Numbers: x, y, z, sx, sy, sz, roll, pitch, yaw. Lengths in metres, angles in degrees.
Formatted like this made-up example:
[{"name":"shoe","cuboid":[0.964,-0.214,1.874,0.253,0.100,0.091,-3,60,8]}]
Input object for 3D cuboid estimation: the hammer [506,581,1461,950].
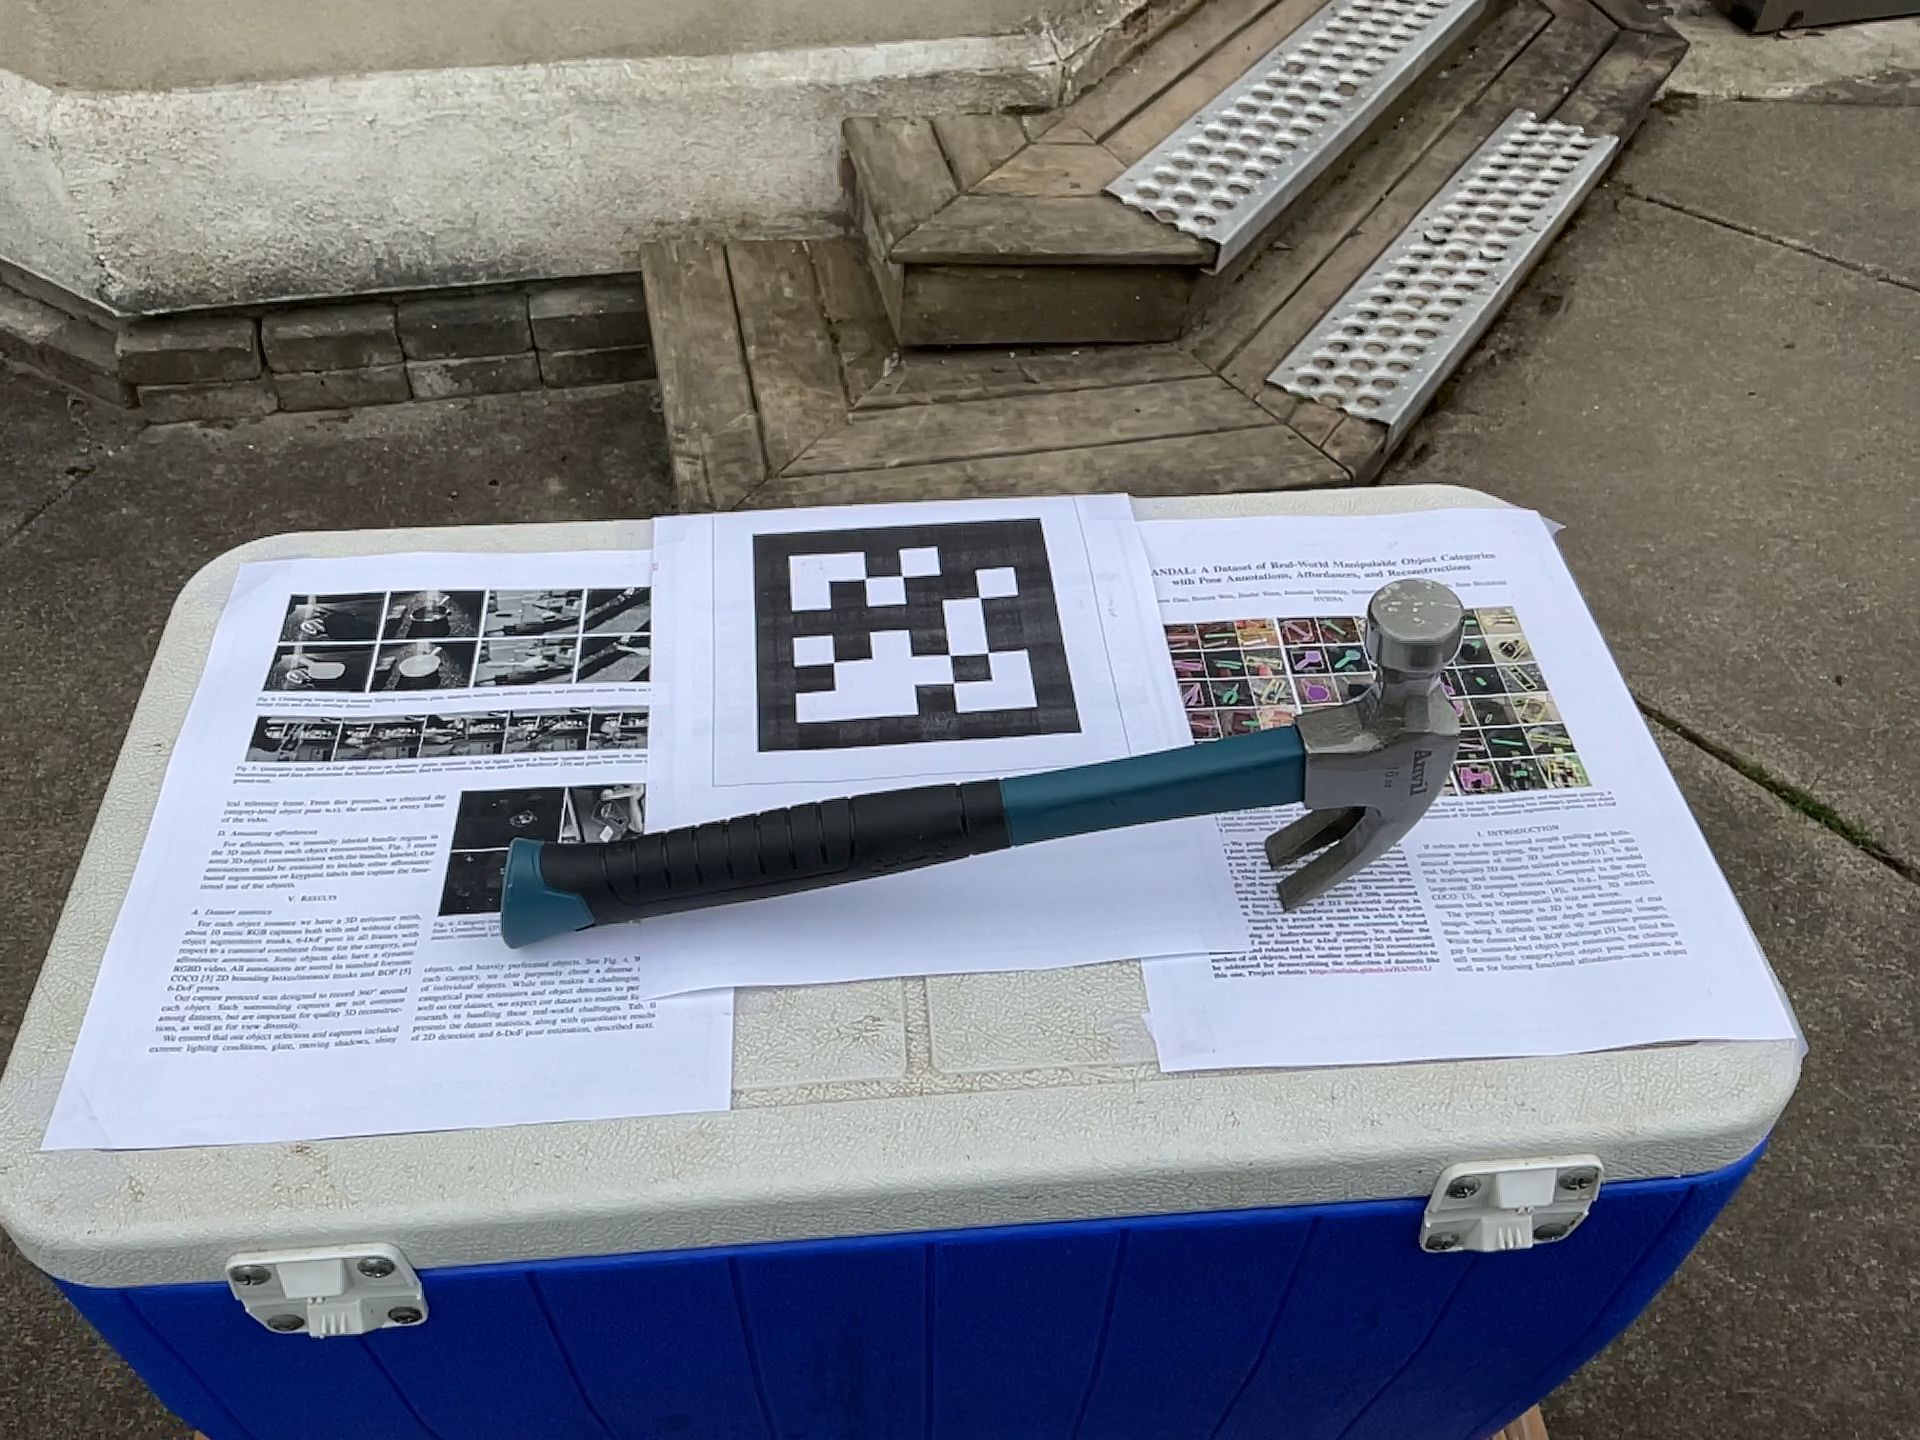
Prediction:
[{"name":"hammer","cuboid":[0.002,0.034,0.550,0.331,0.128,0.033,-10,46,2]}]
